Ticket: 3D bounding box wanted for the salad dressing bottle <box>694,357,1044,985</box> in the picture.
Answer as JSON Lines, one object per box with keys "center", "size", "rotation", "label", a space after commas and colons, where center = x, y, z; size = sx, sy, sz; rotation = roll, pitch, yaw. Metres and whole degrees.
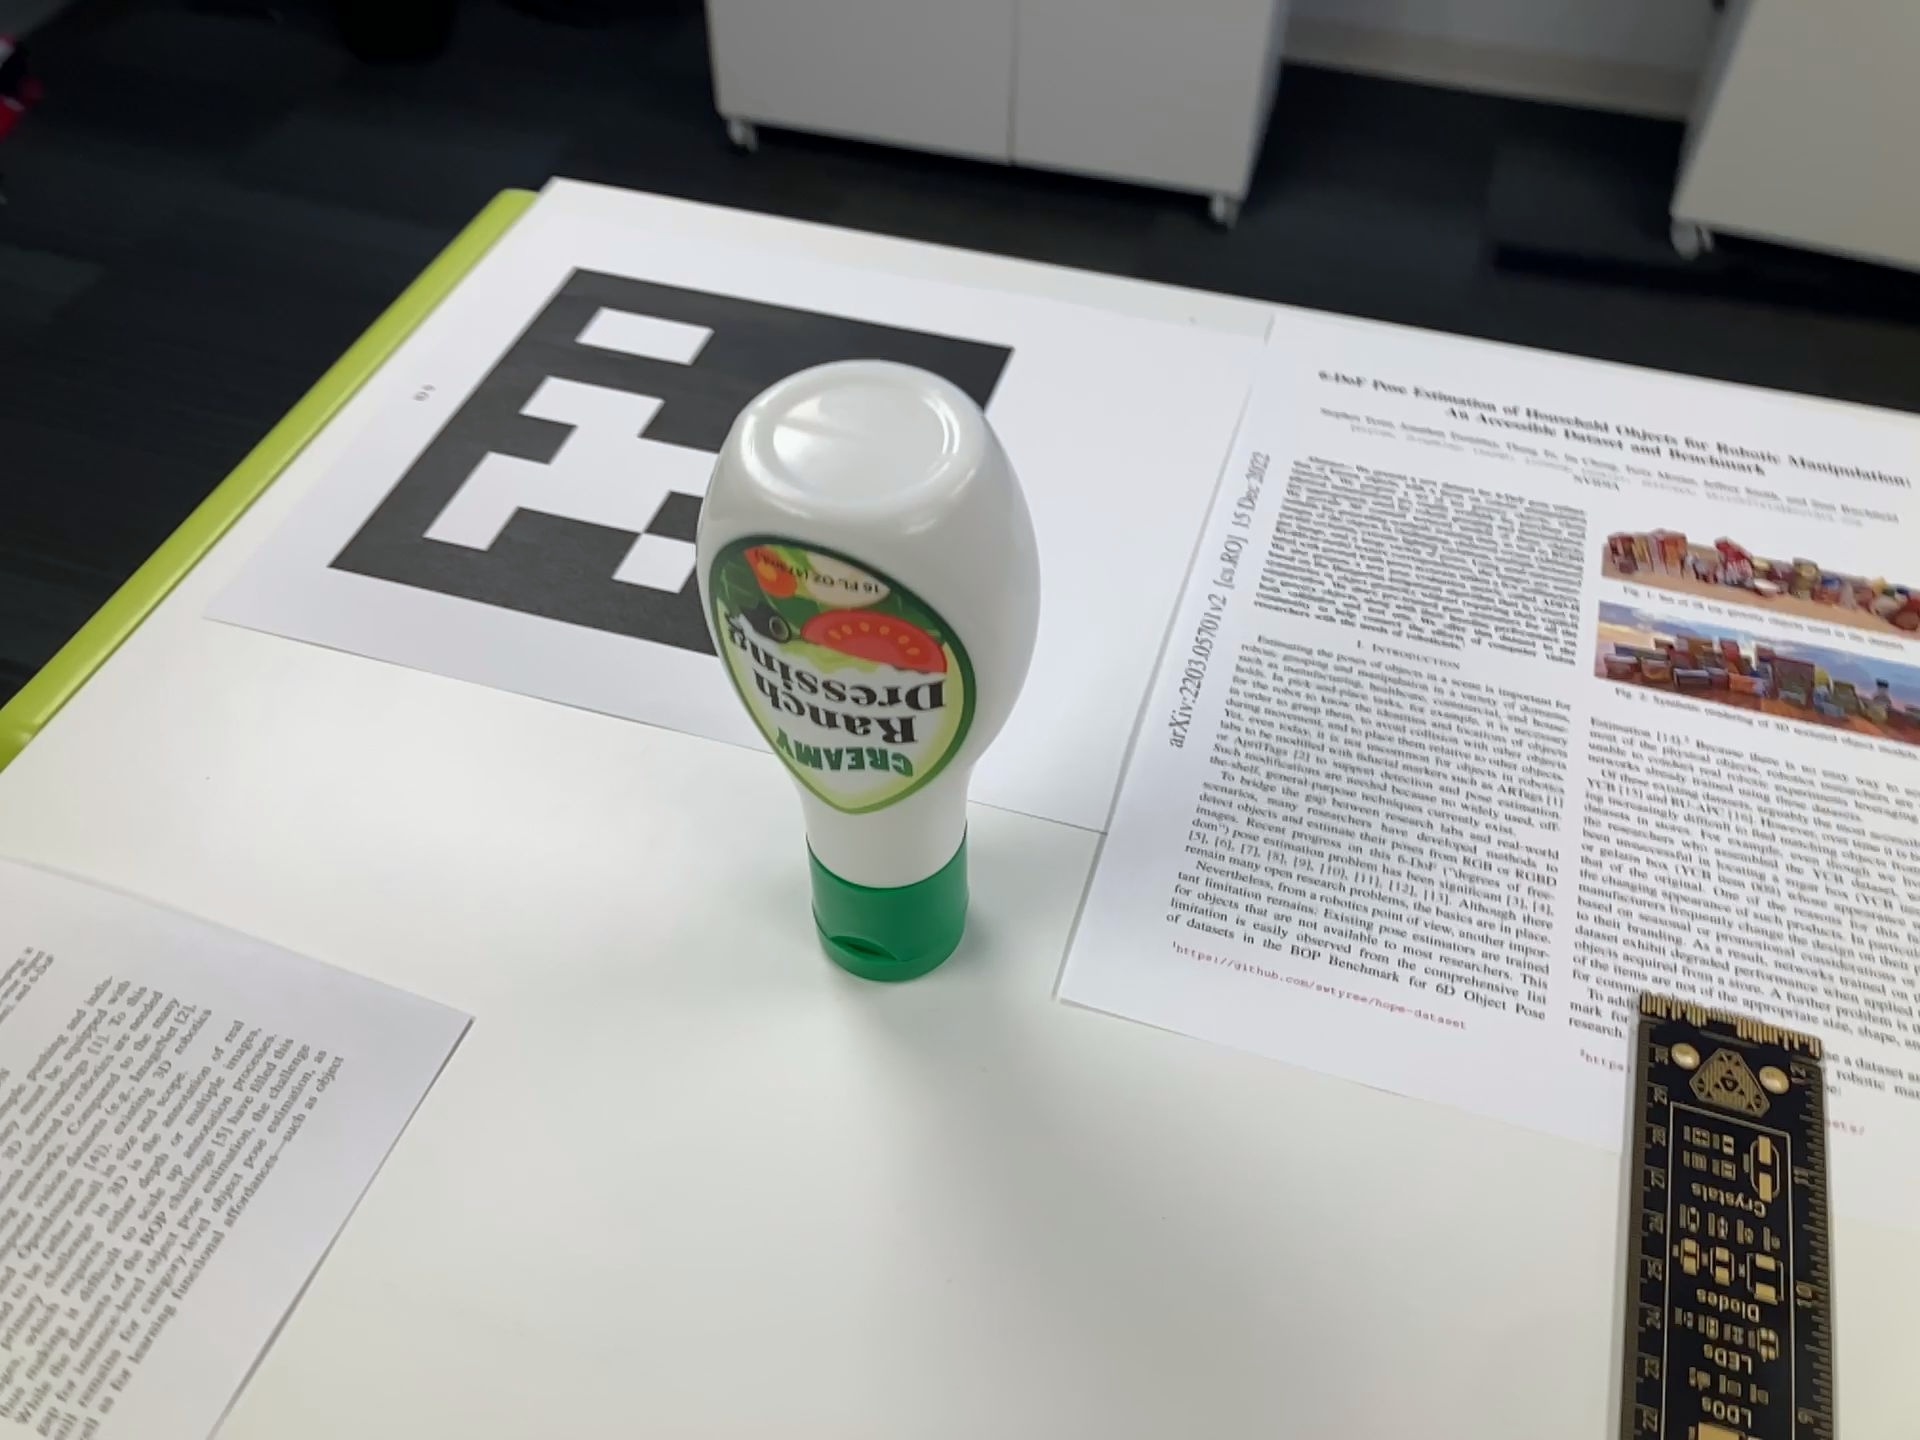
{"center": [-0.016, 0.000, 0.320], "size": [0.064, 0.147, 0.044], "rotation": [15, 51, 13], "label": "salad dressing bottle"}
